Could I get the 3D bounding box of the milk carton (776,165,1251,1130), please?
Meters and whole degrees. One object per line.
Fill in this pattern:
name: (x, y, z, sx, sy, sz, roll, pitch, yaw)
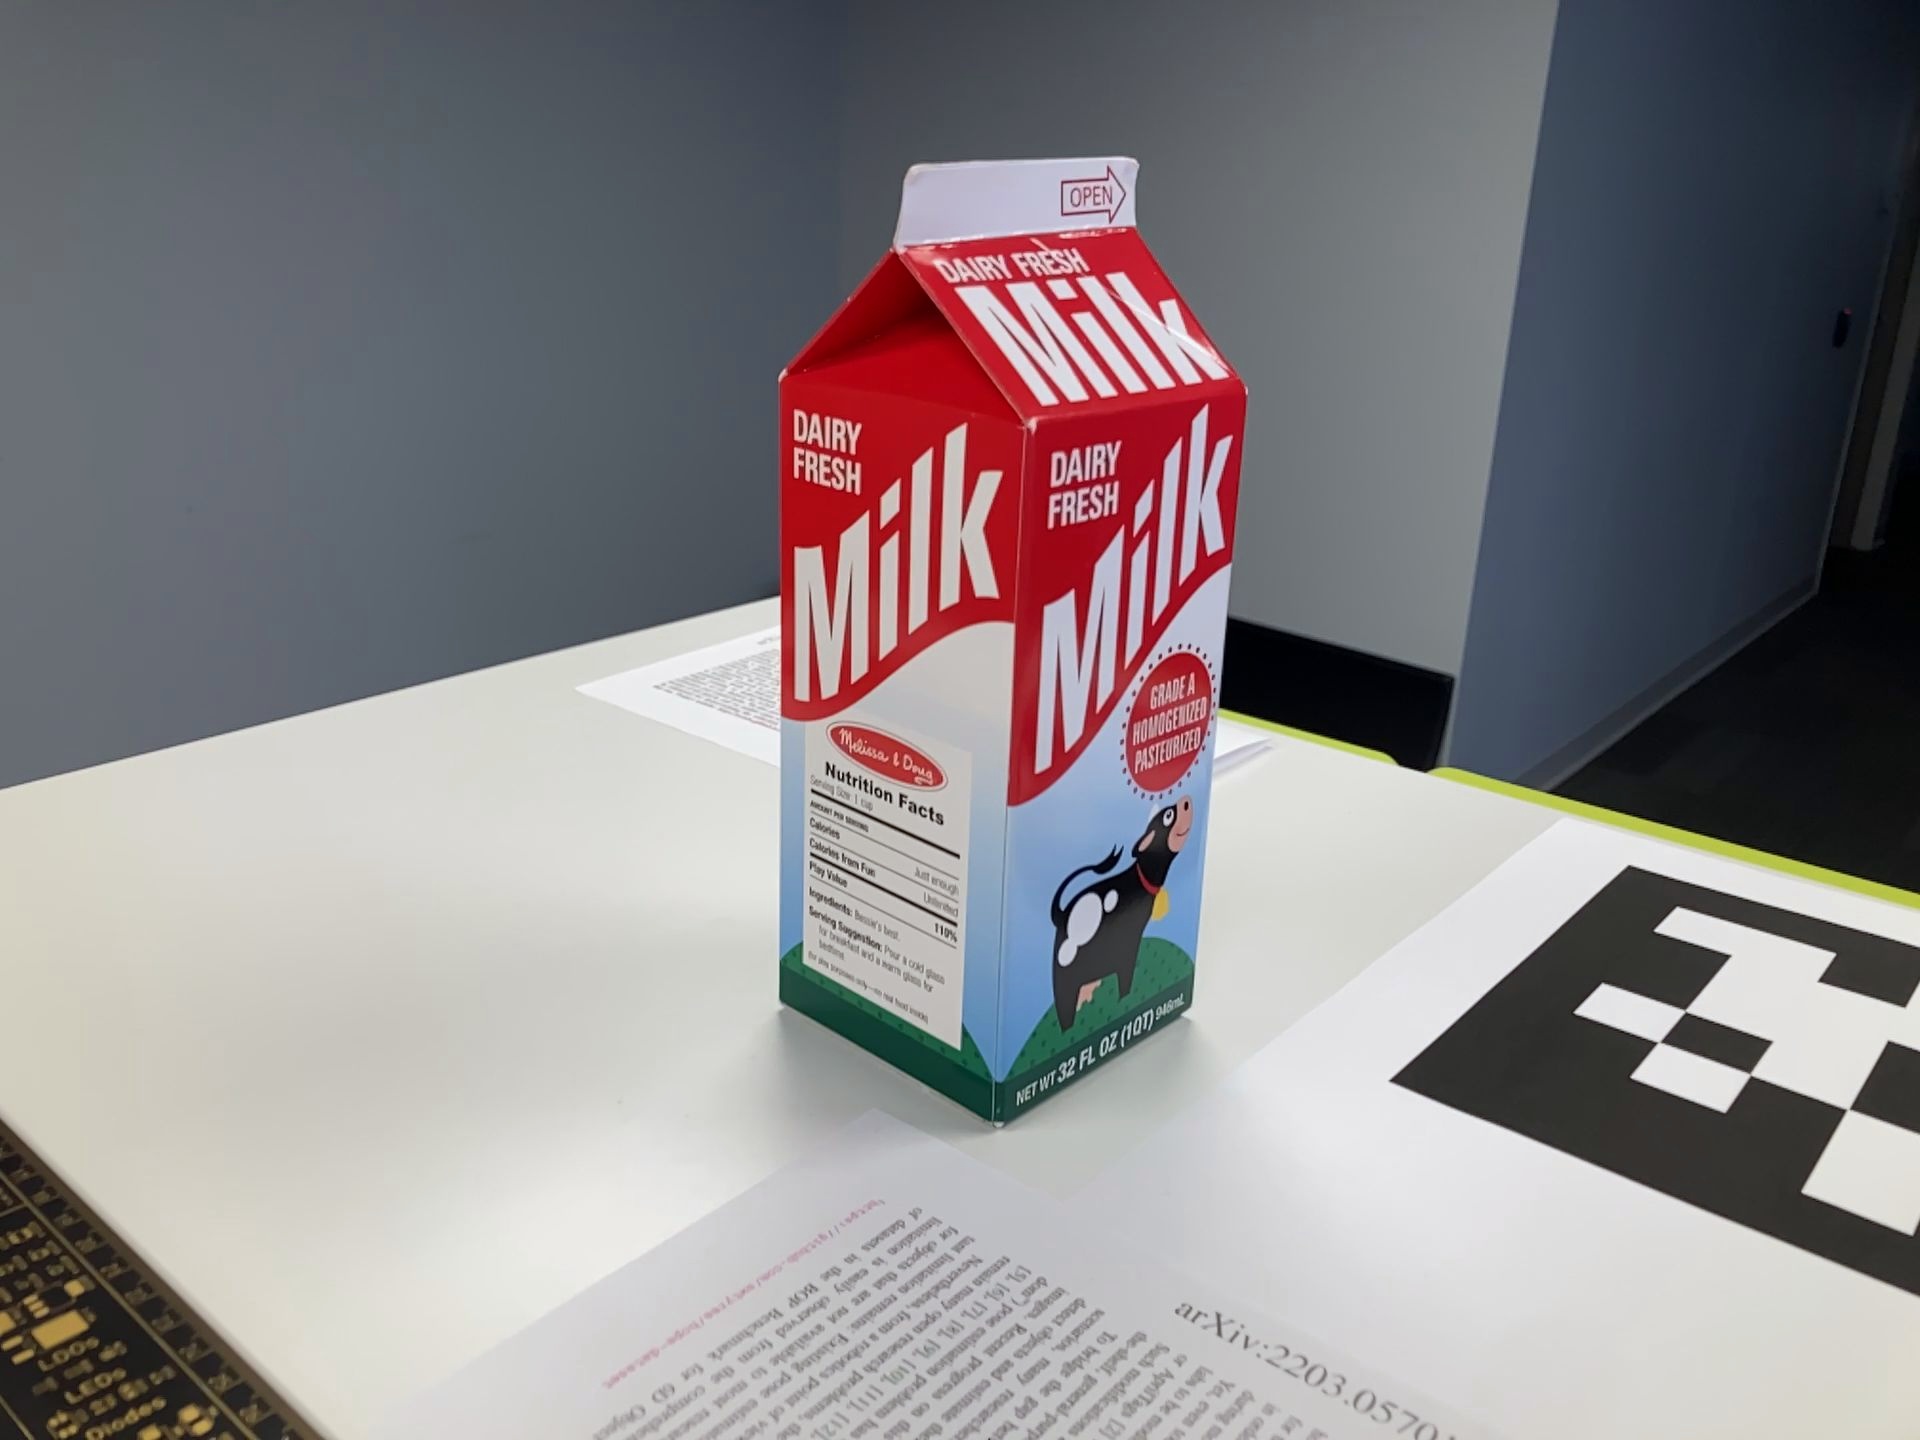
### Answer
milk carton: (0.009, -0.020, 0.345, 0.073, 0.190, 0.072, 19, 26, 40)
